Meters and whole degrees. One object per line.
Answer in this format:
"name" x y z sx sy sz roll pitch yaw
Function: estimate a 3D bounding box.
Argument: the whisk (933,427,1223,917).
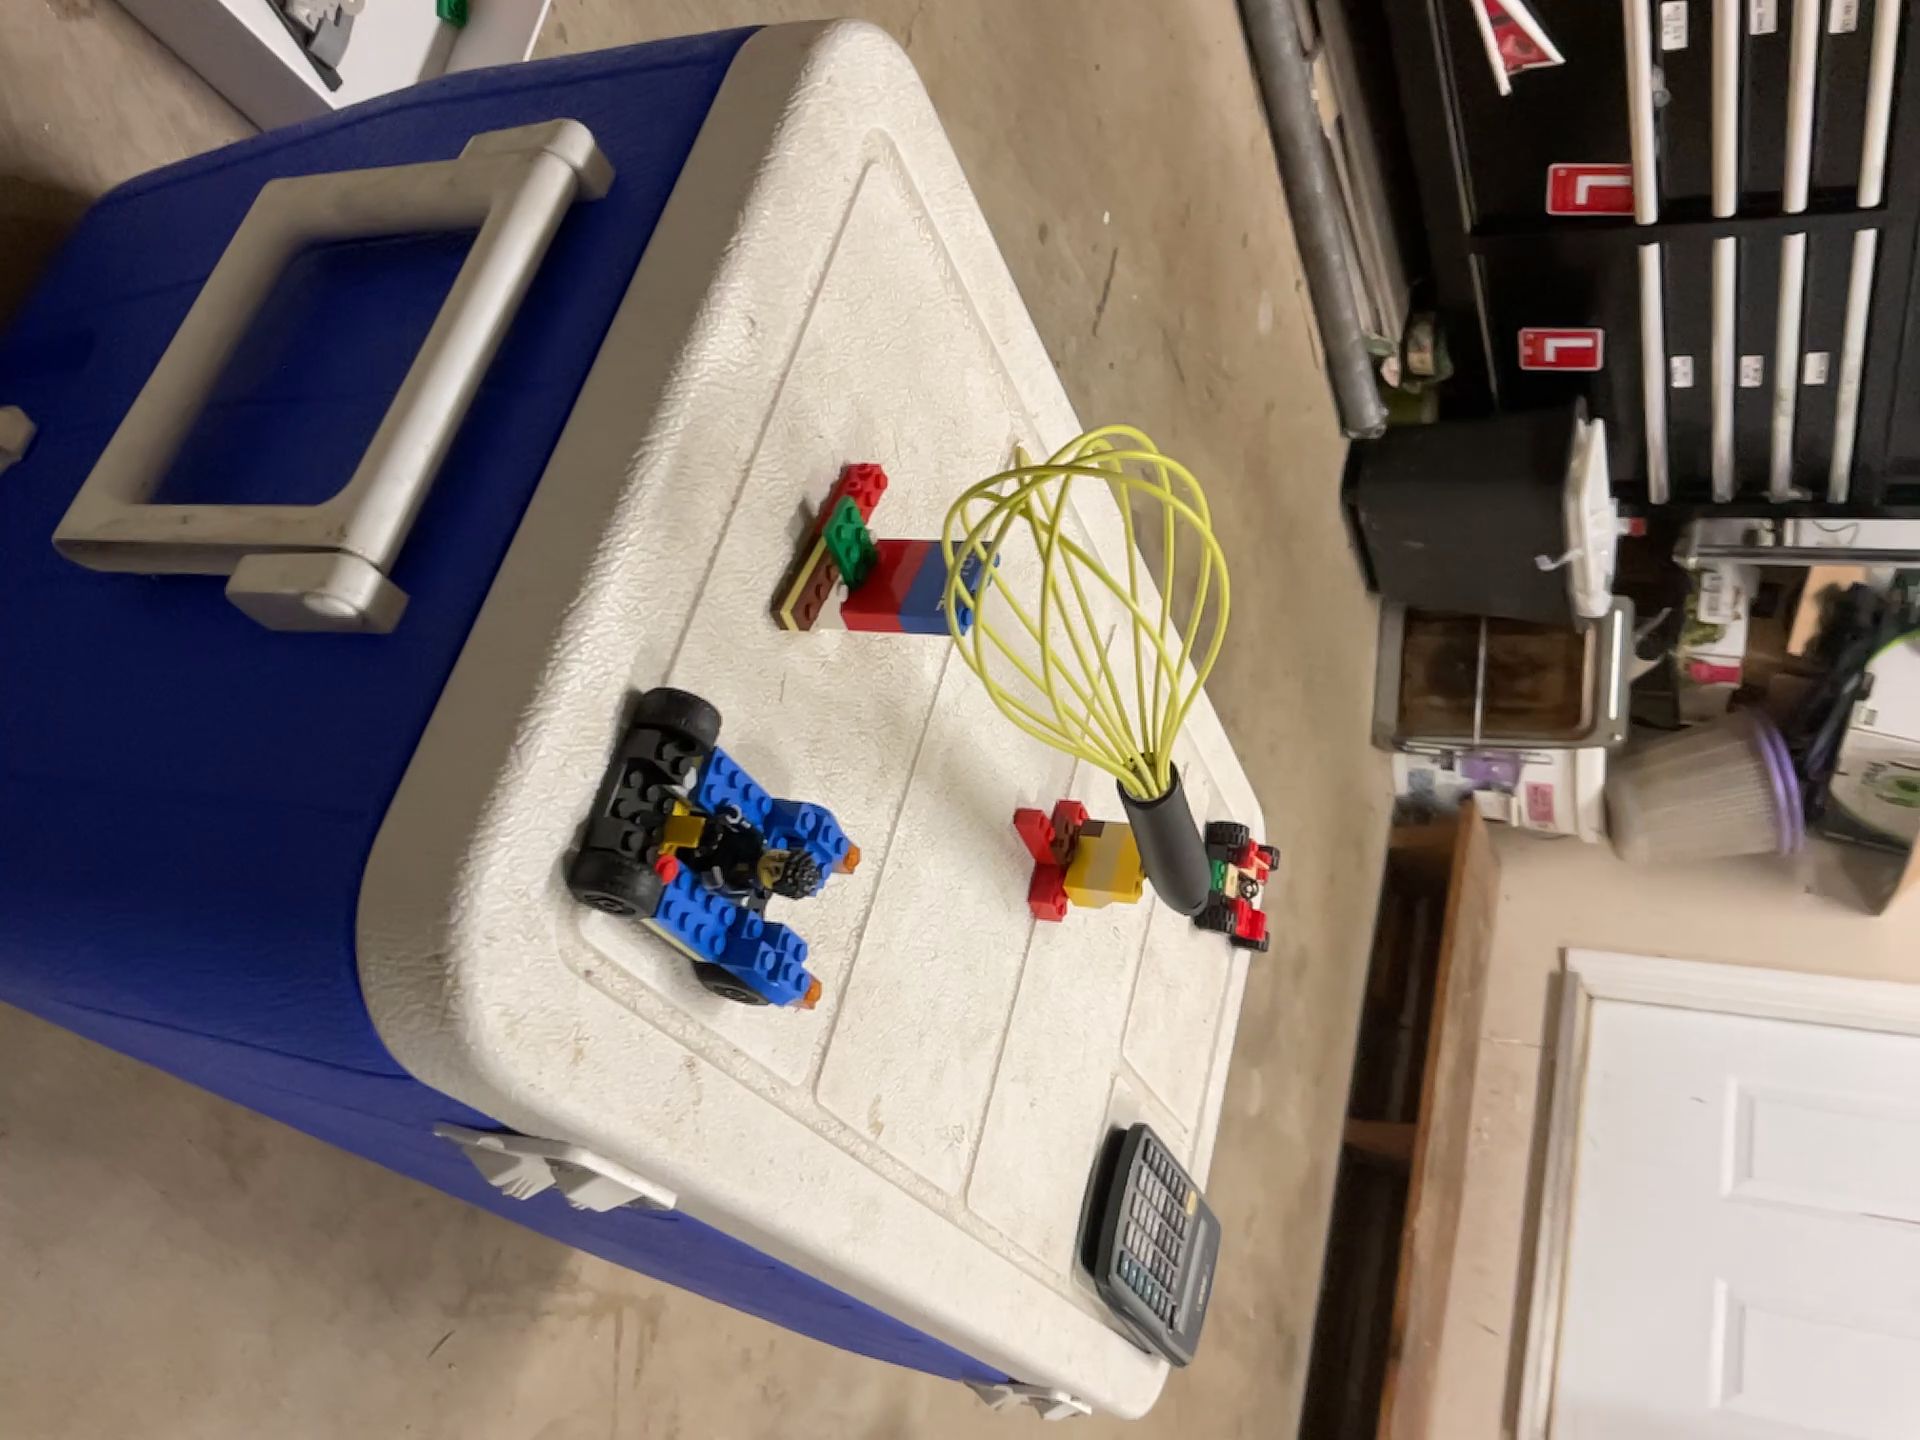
"whisk" 0.055 0.006 0.521 0.080 0.067 0.311 -32 150 -2
